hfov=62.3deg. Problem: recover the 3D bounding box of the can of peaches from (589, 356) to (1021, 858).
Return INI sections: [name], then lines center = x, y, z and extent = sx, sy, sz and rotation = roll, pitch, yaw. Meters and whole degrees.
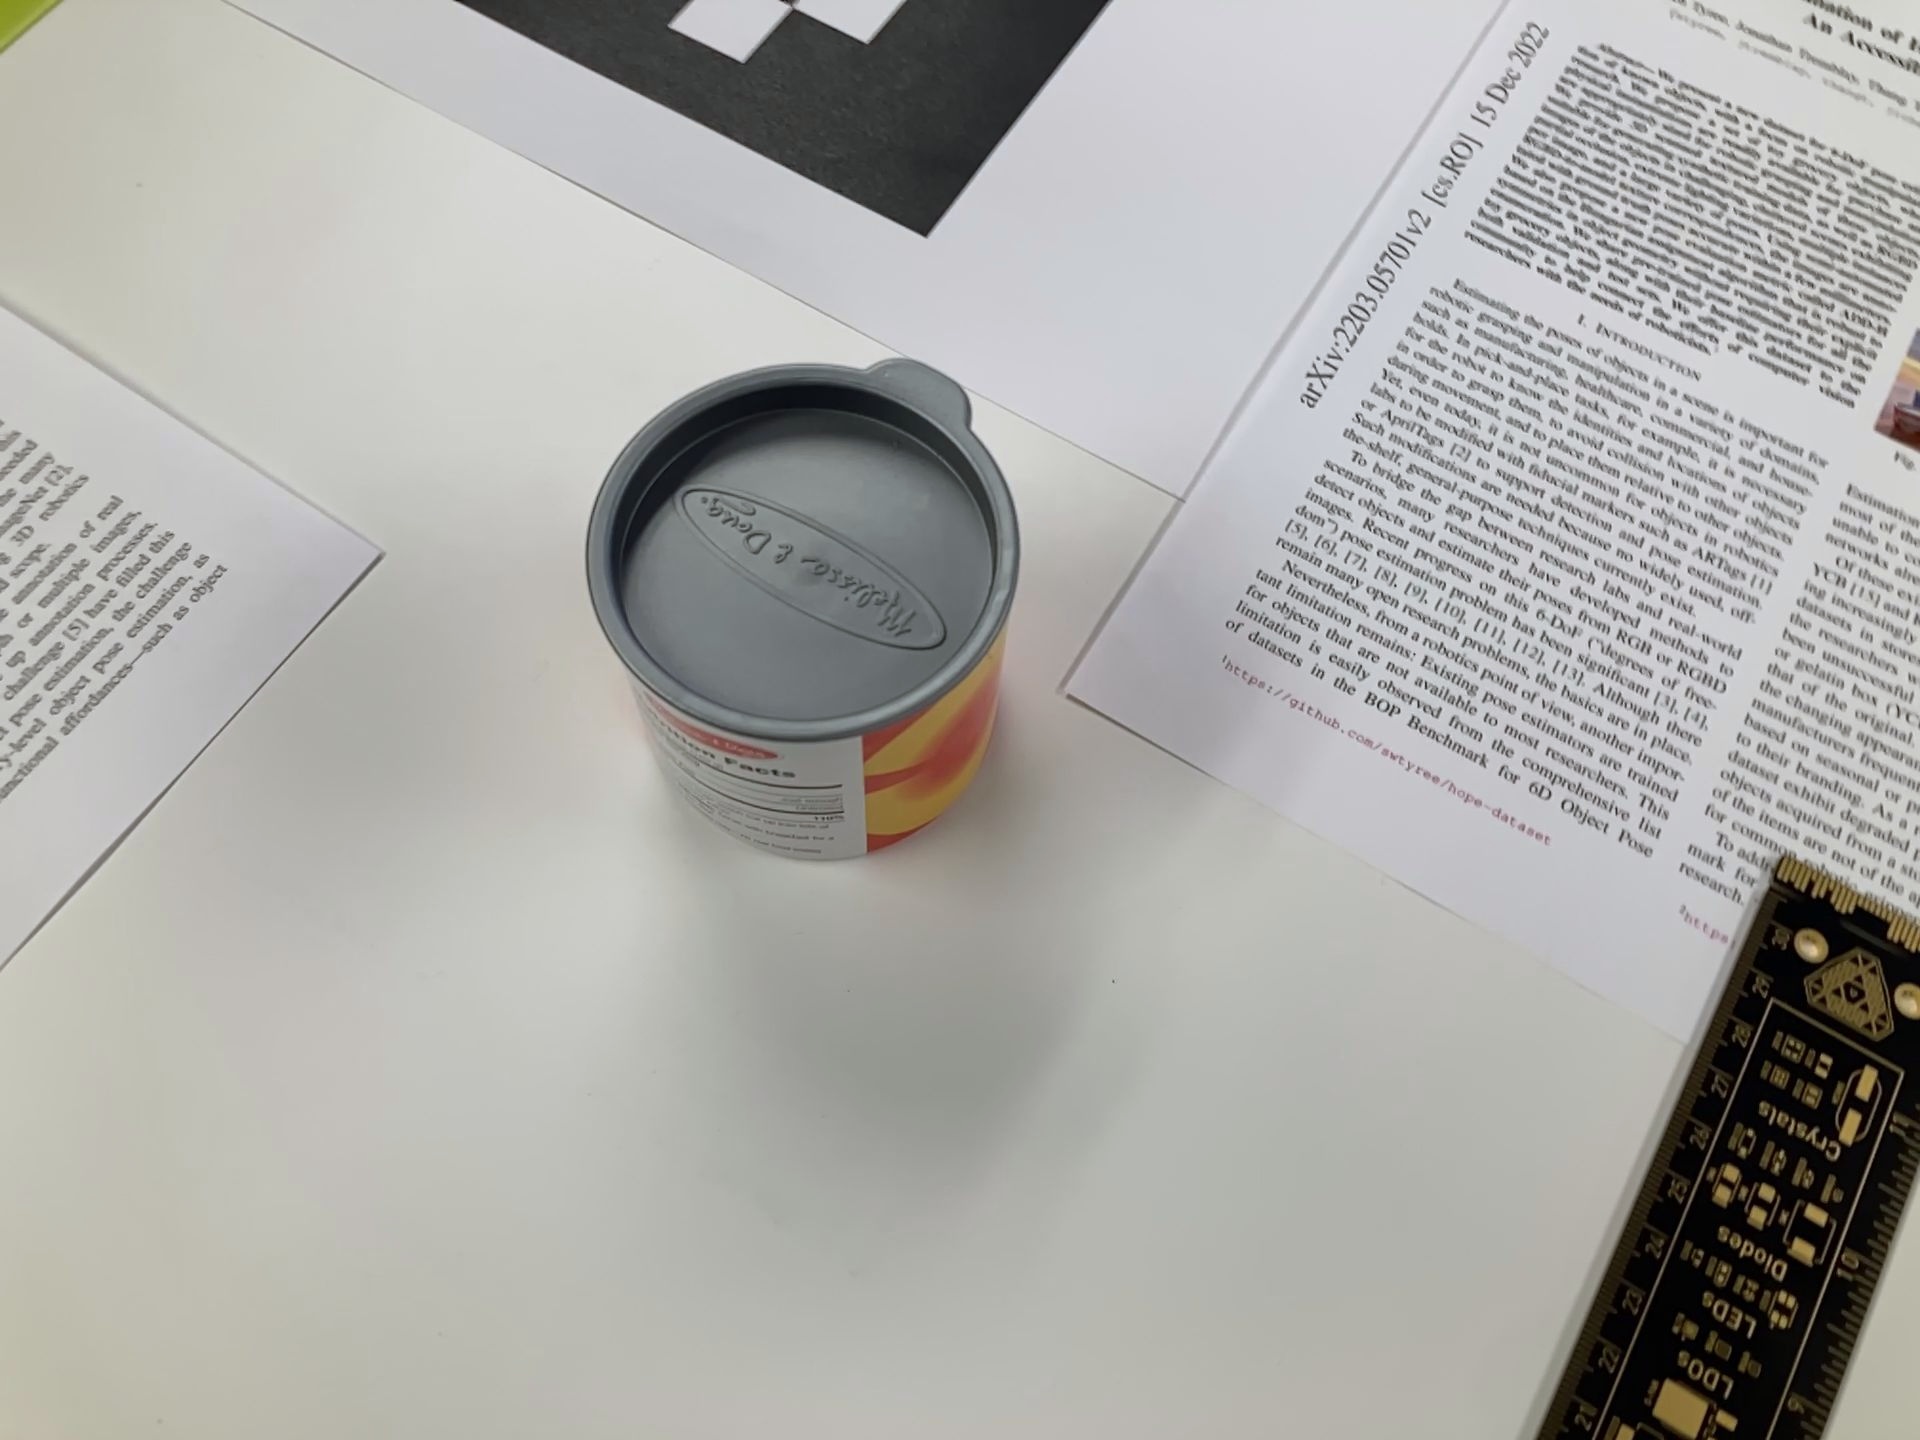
[can of peaches]
center = -0.023, -0.018, 0.270
extent = 0.071, 0.058, 0.071
rotation = 1, 65, -2
